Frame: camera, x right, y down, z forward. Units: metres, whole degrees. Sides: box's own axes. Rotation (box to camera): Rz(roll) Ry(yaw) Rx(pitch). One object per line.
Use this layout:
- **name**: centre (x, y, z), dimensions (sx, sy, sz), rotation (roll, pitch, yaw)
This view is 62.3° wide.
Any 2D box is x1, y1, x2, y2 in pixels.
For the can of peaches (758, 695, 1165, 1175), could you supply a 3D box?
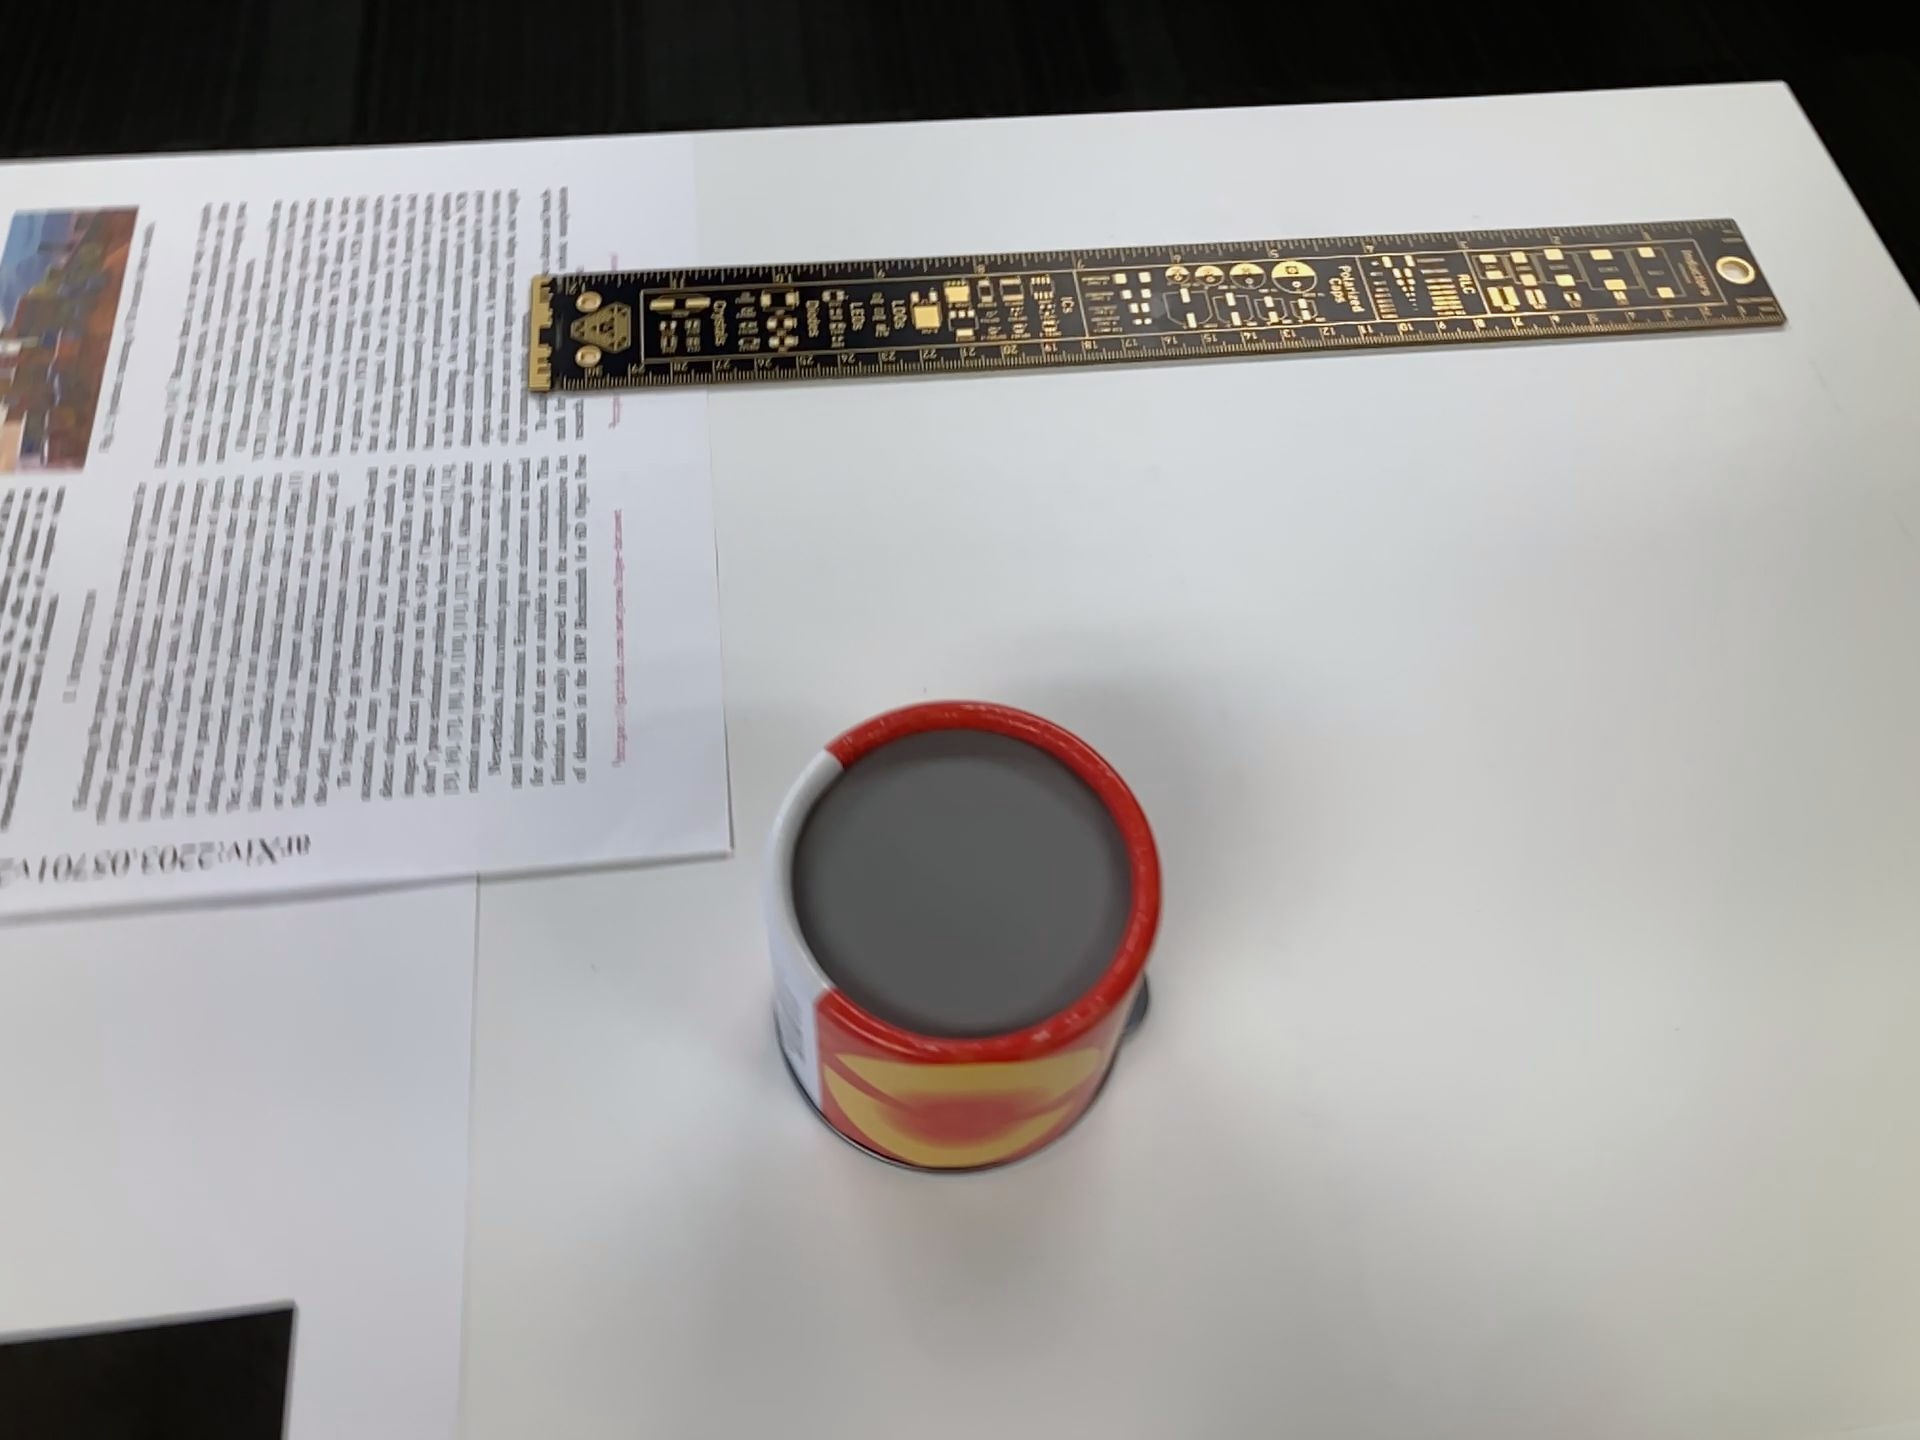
- **can of peaches**: centre (0.002, 0.037, 0.276), dimensions (0.071, 0.058, 0.071), rotation (1, 58, -1)
